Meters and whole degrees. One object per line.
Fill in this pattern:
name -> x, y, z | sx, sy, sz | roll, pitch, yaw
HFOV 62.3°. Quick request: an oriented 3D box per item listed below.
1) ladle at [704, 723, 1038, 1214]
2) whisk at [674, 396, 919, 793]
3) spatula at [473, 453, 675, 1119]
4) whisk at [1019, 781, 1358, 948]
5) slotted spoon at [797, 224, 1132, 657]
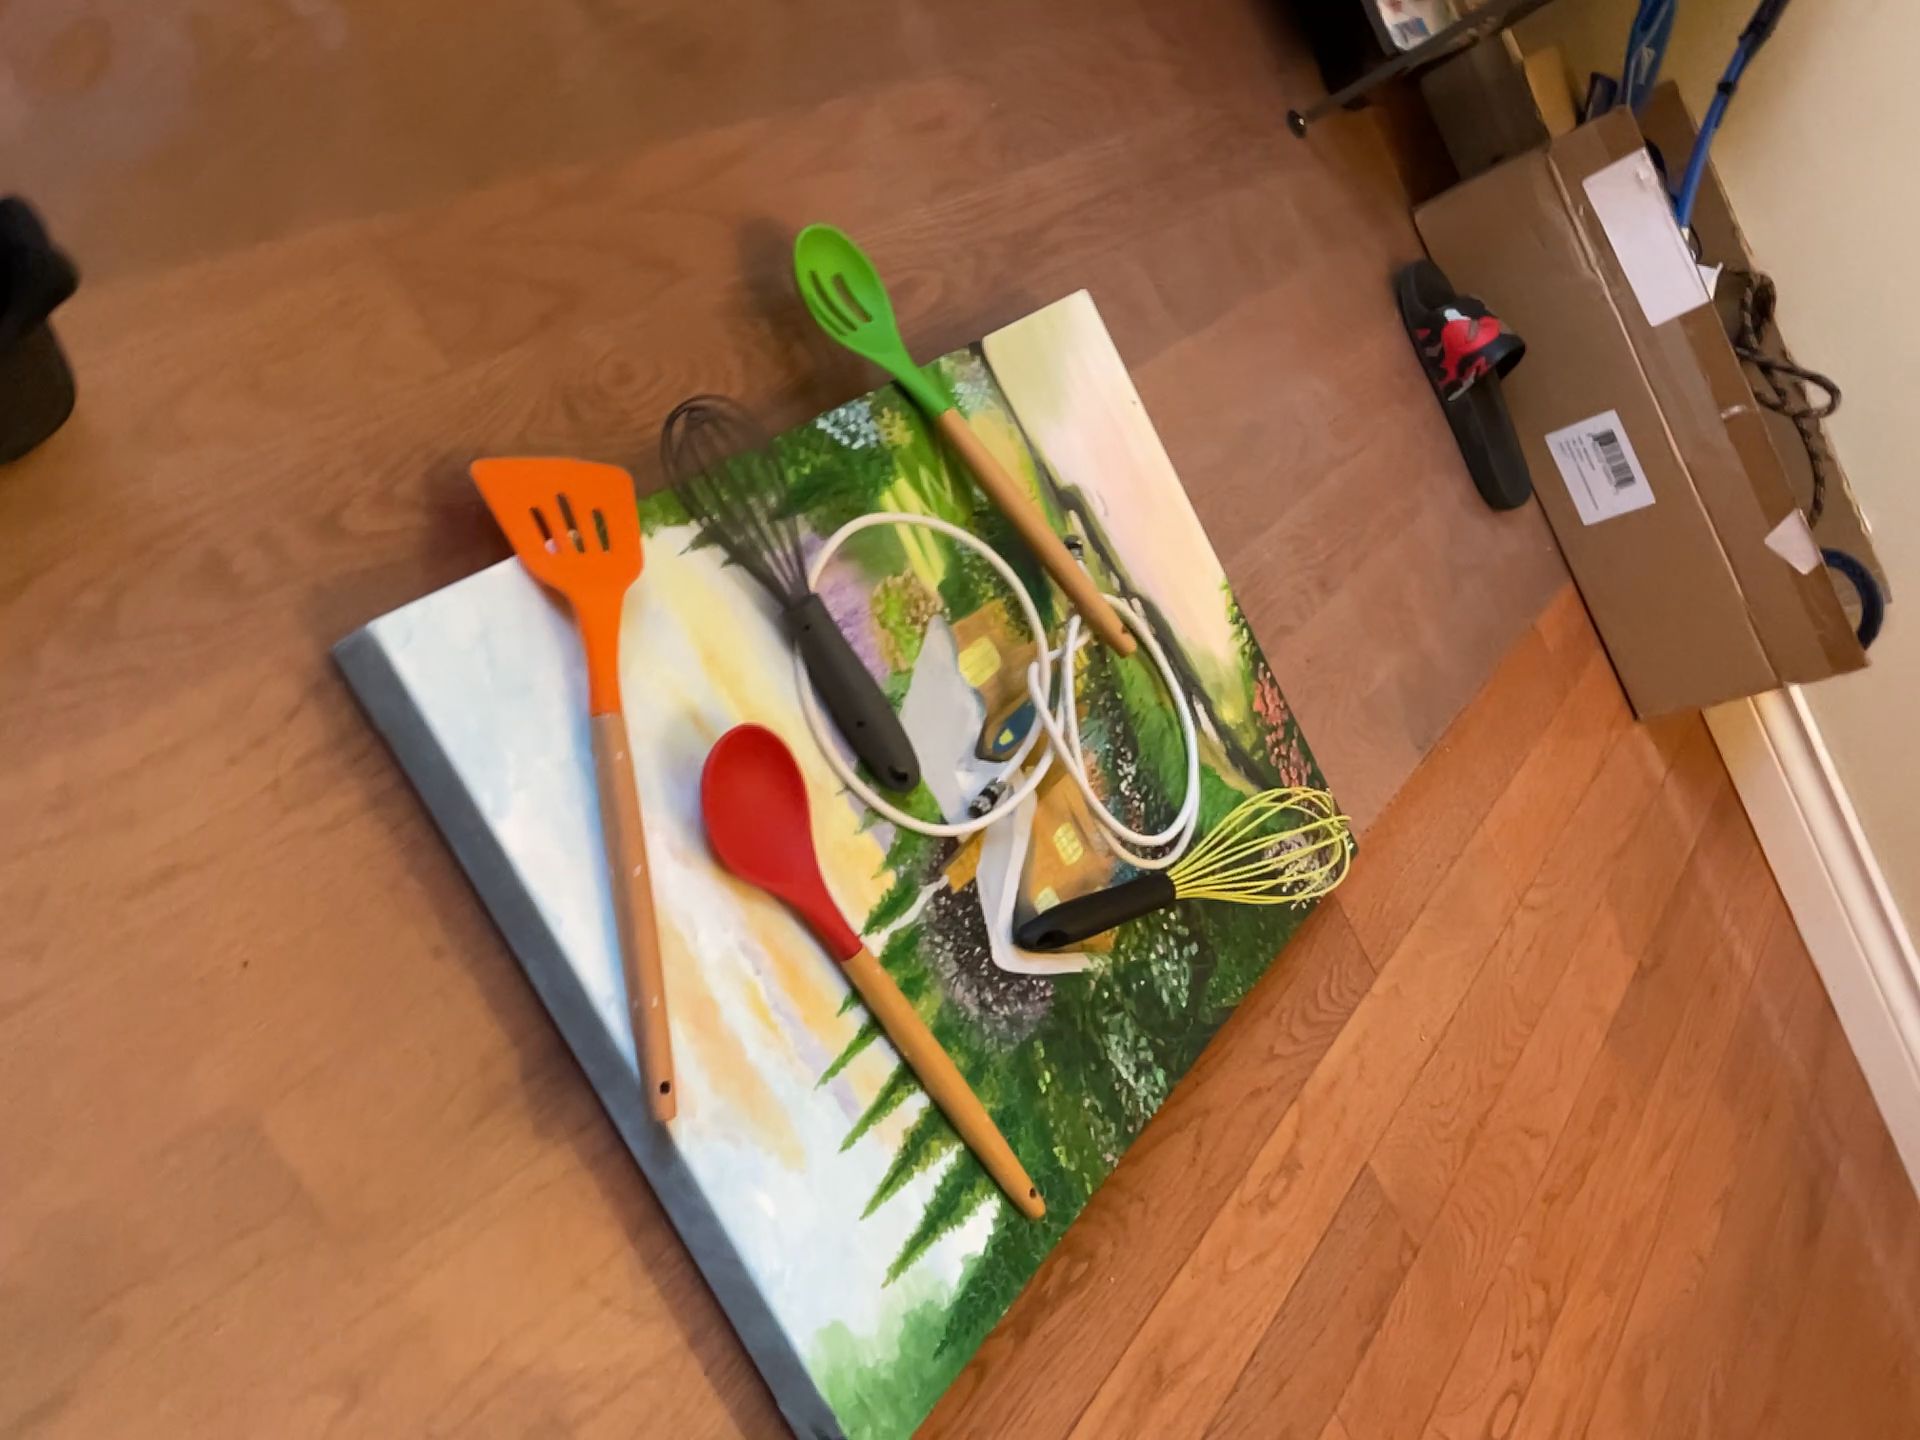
ladle -> -0.041, 0.137, 0.816 | 0.315, 0.031, 0.069 | 58, 45, -17
whisk -> -0.081, -0.060, 0.831 | 0.055, 0.055, 0.238 | -43, 114, -34
spatula -> -0.165, 0.022, 0.743 | 0.081, 0.041, 0.323 | -4, 80, -35
whisk -> 0.147, 0.099, 1.008 | 0.311, 0.067, 0.080 | -13, 80, -41
slotted spoon -> 0.003, -0.164, 0.958 | 0.314, 0.031, 0.070 | 52, 44, -3
